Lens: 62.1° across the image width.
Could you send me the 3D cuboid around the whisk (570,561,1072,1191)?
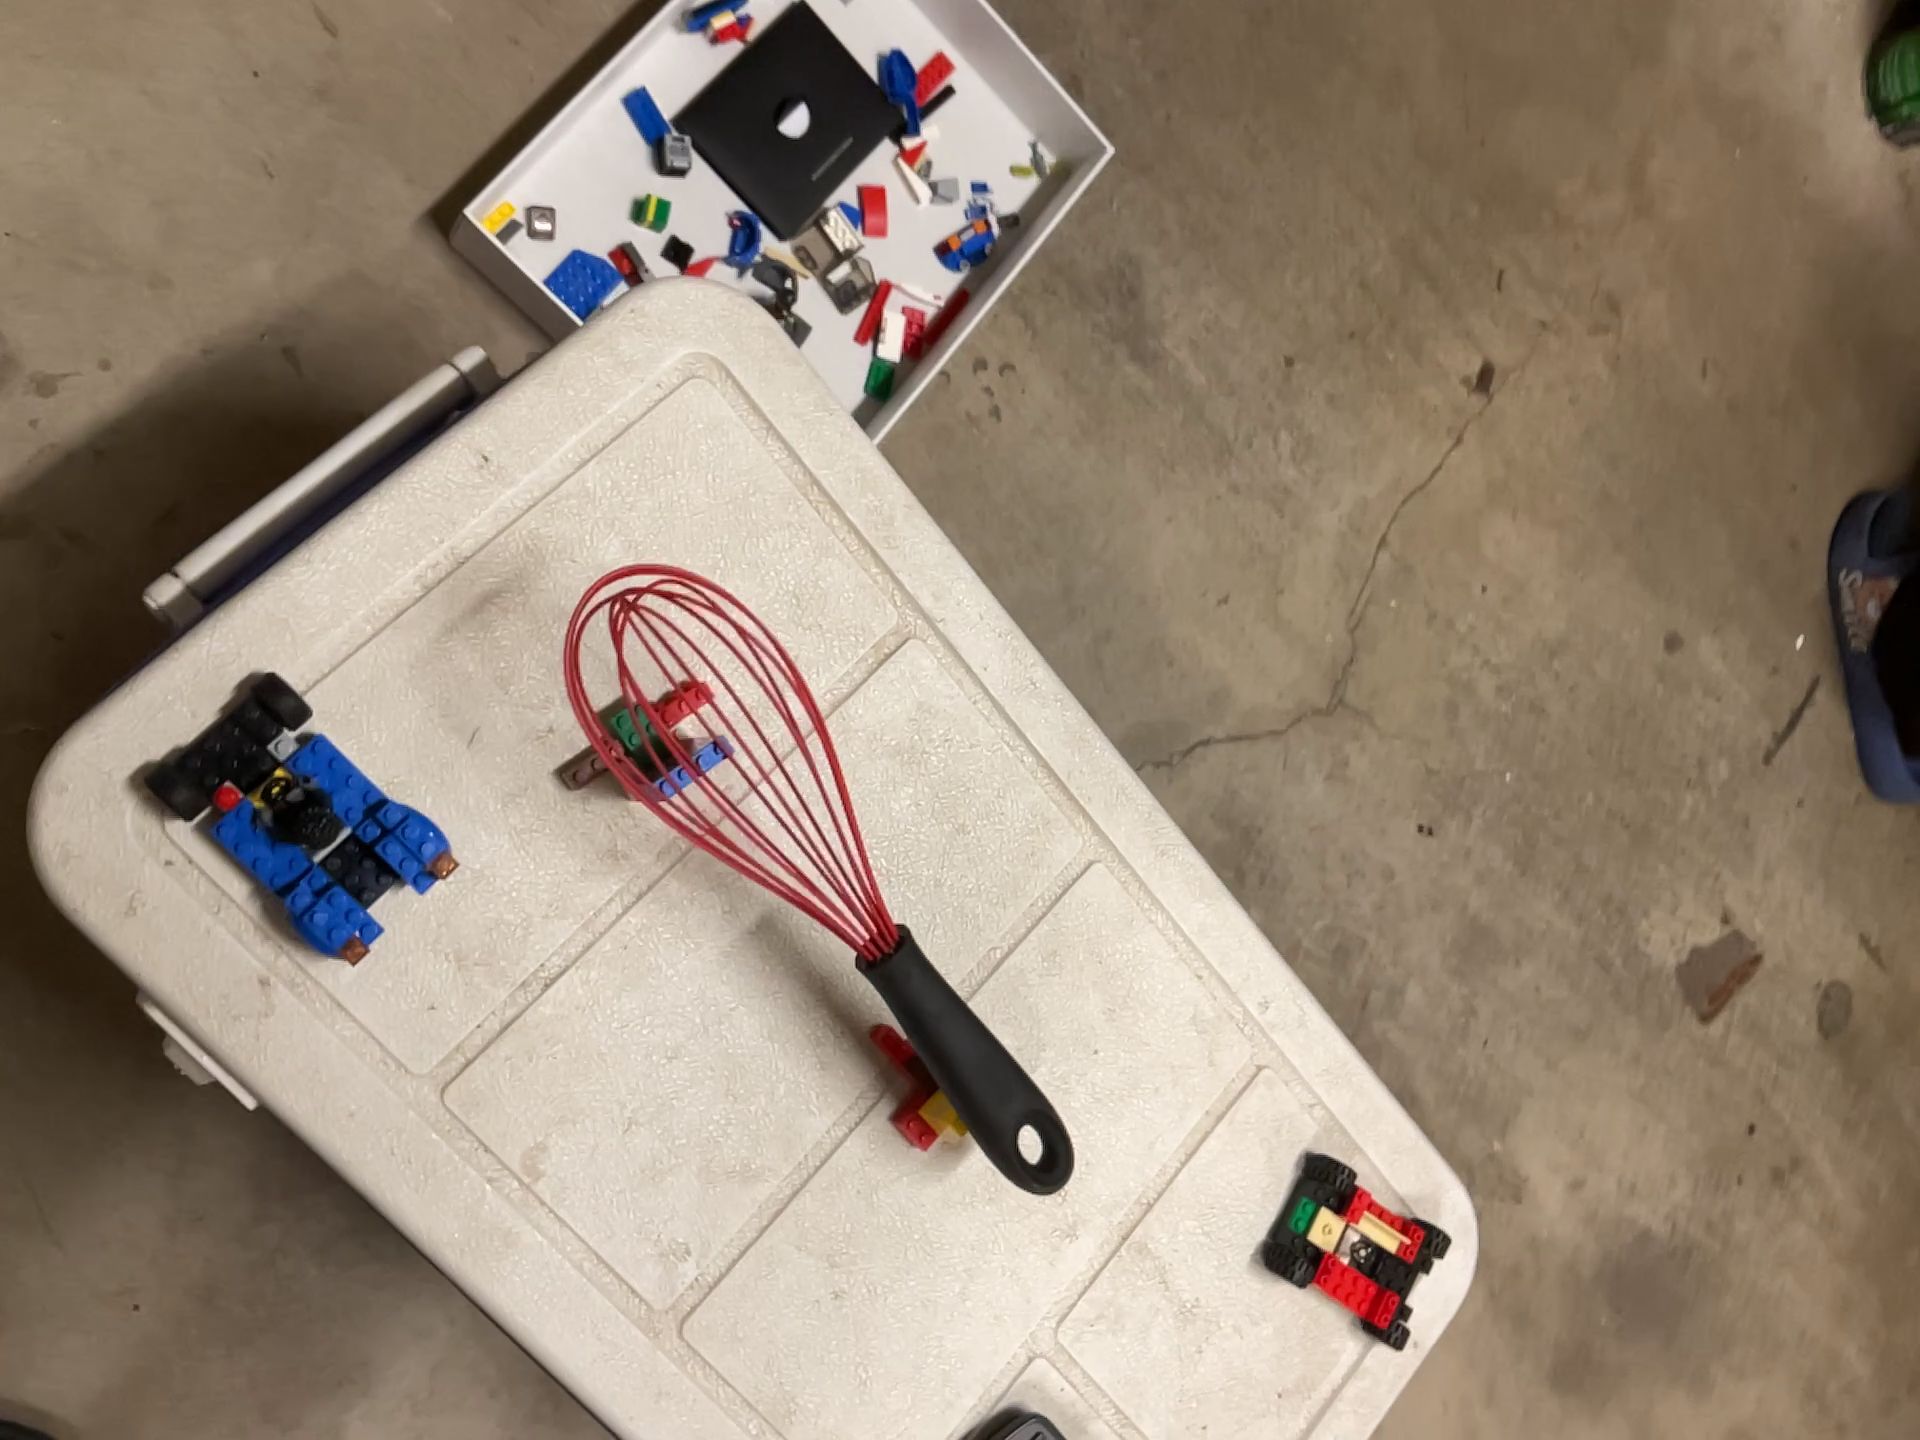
[{"bbox_3d":[-0.038,0.067,0.569,0.073,0.073,0.295,-45,115,-24],"label":"whisk"}]
